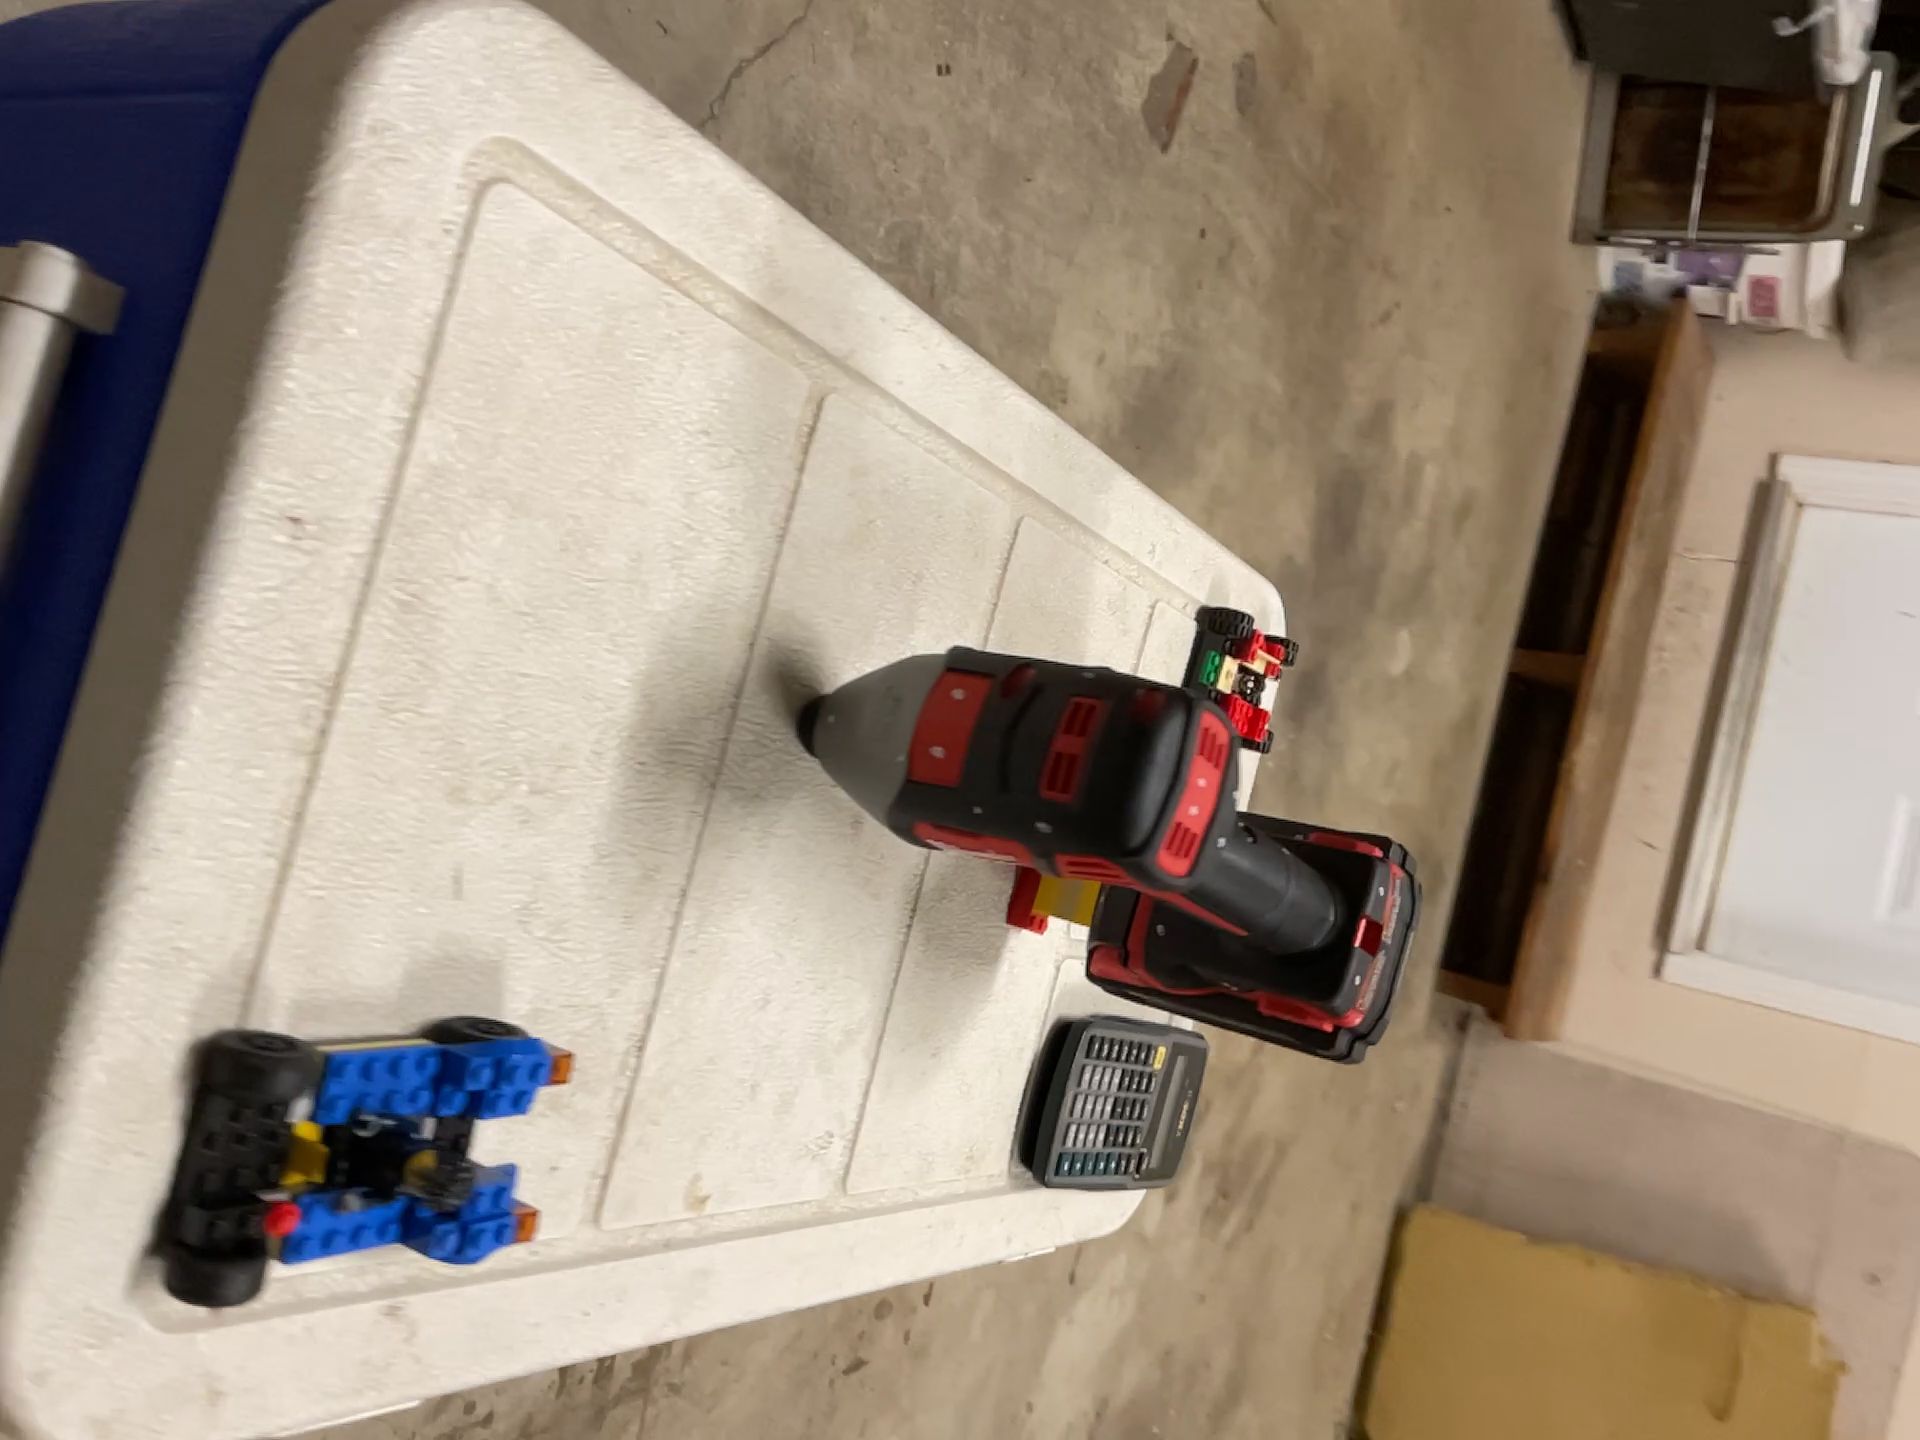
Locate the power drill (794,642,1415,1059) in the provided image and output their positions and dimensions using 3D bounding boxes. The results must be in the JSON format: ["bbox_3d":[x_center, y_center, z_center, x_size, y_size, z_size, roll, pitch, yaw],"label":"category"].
[{"bbox_3d":[0.051,0.039,0.521,0.219,0.143,0.079,34,71,-50],"label":"power drill"}]
